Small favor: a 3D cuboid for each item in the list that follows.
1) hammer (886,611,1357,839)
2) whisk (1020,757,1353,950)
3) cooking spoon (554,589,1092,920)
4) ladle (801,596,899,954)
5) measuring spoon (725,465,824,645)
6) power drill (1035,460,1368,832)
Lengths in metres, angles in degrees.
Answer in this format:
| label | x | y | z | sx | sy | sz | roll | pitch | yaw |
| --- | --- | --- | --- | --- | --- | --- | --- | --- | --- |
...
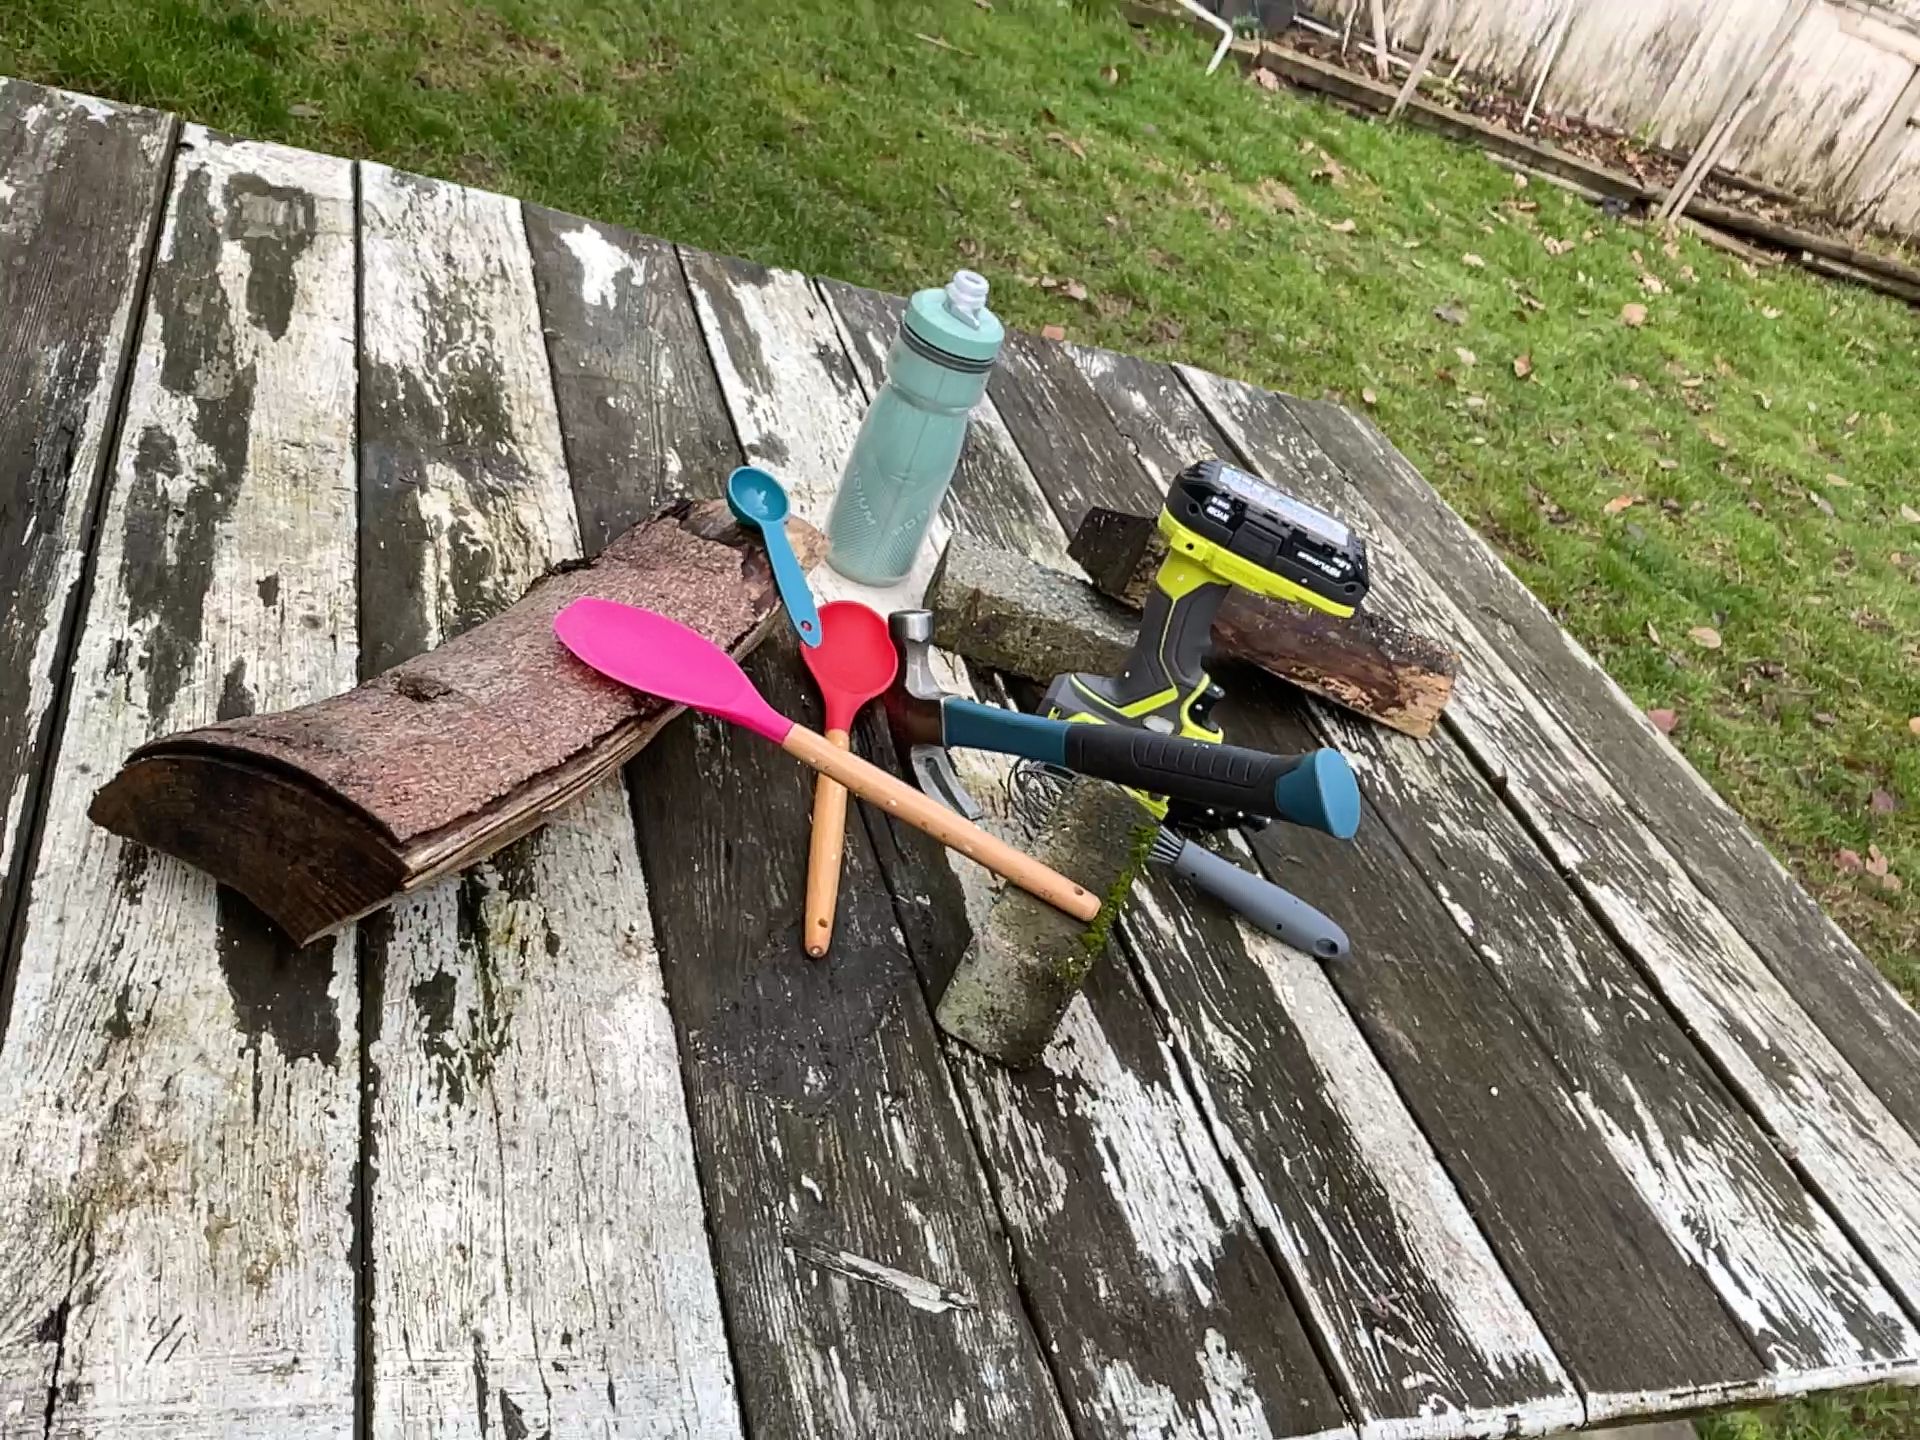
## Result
| label | x | y | z | sx | sy | sz | roll | pitch | yaw |
| --- | --- | --- | --- | --- | --- | --- | --- | --- | --- |
| hammer | 0.075 | 0.016 | 0.900 | 0.033 | 0.128 | 0.331 | -14 | 17 | -42 |
| whisk | 0.142 | 0.083 | 1.002 | 0.239 | 0.055 | 0.055 | 28 | 41 | -1 |
| cooking spoon | -0.071 | 0.019 | 0.834 | 0.319 | 0.017 | 0.069 | 31 | 32 | 1 |
| ladle | -0.075 | 0.025 | 0.972 | 0.069 | 0.031 | 0.316 | 19 | 36 | -13 |
| measuring spoon | -0.113 | -0.098 | 0.978 | 0.042 | 0.021 | 0.129 | -7 | 66 | -40 |
| power drill | 0.163 | -0.039 | 1.037 | 0.171 | 0.223 | 0.080 | 27 | 25 | 1 |
